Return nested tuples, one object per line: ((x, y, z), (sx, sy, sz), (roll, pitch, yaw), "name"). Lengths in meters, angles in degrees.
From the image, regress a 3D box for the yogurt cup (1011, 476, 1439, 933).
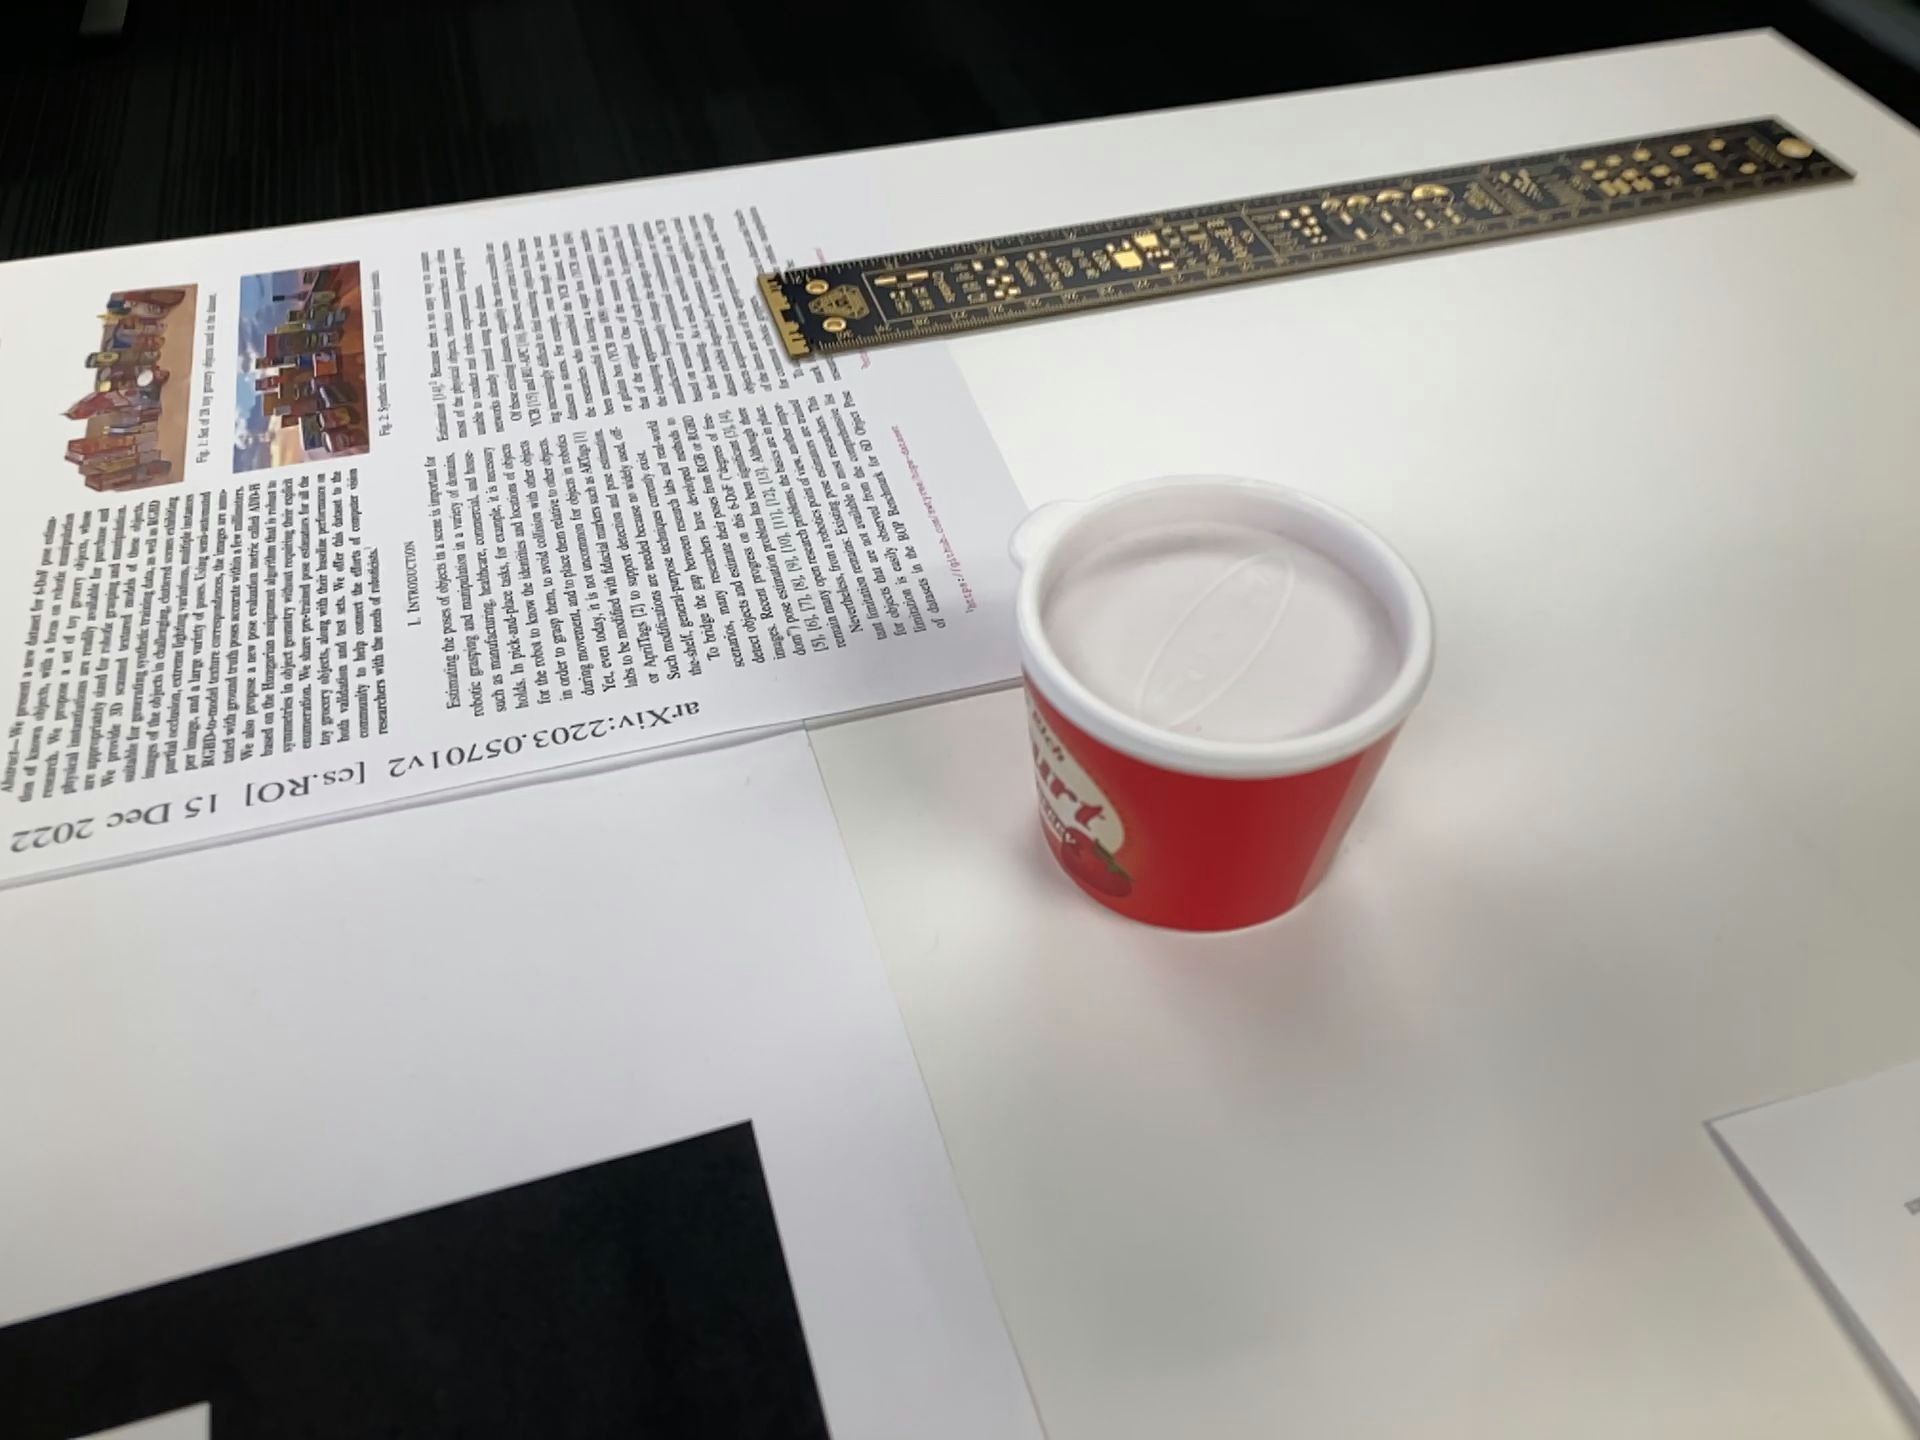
((0.042, -0.001, 0.272), (0.072, 0.054, 0.072), (1, 47, -1), "yogurt cup")
